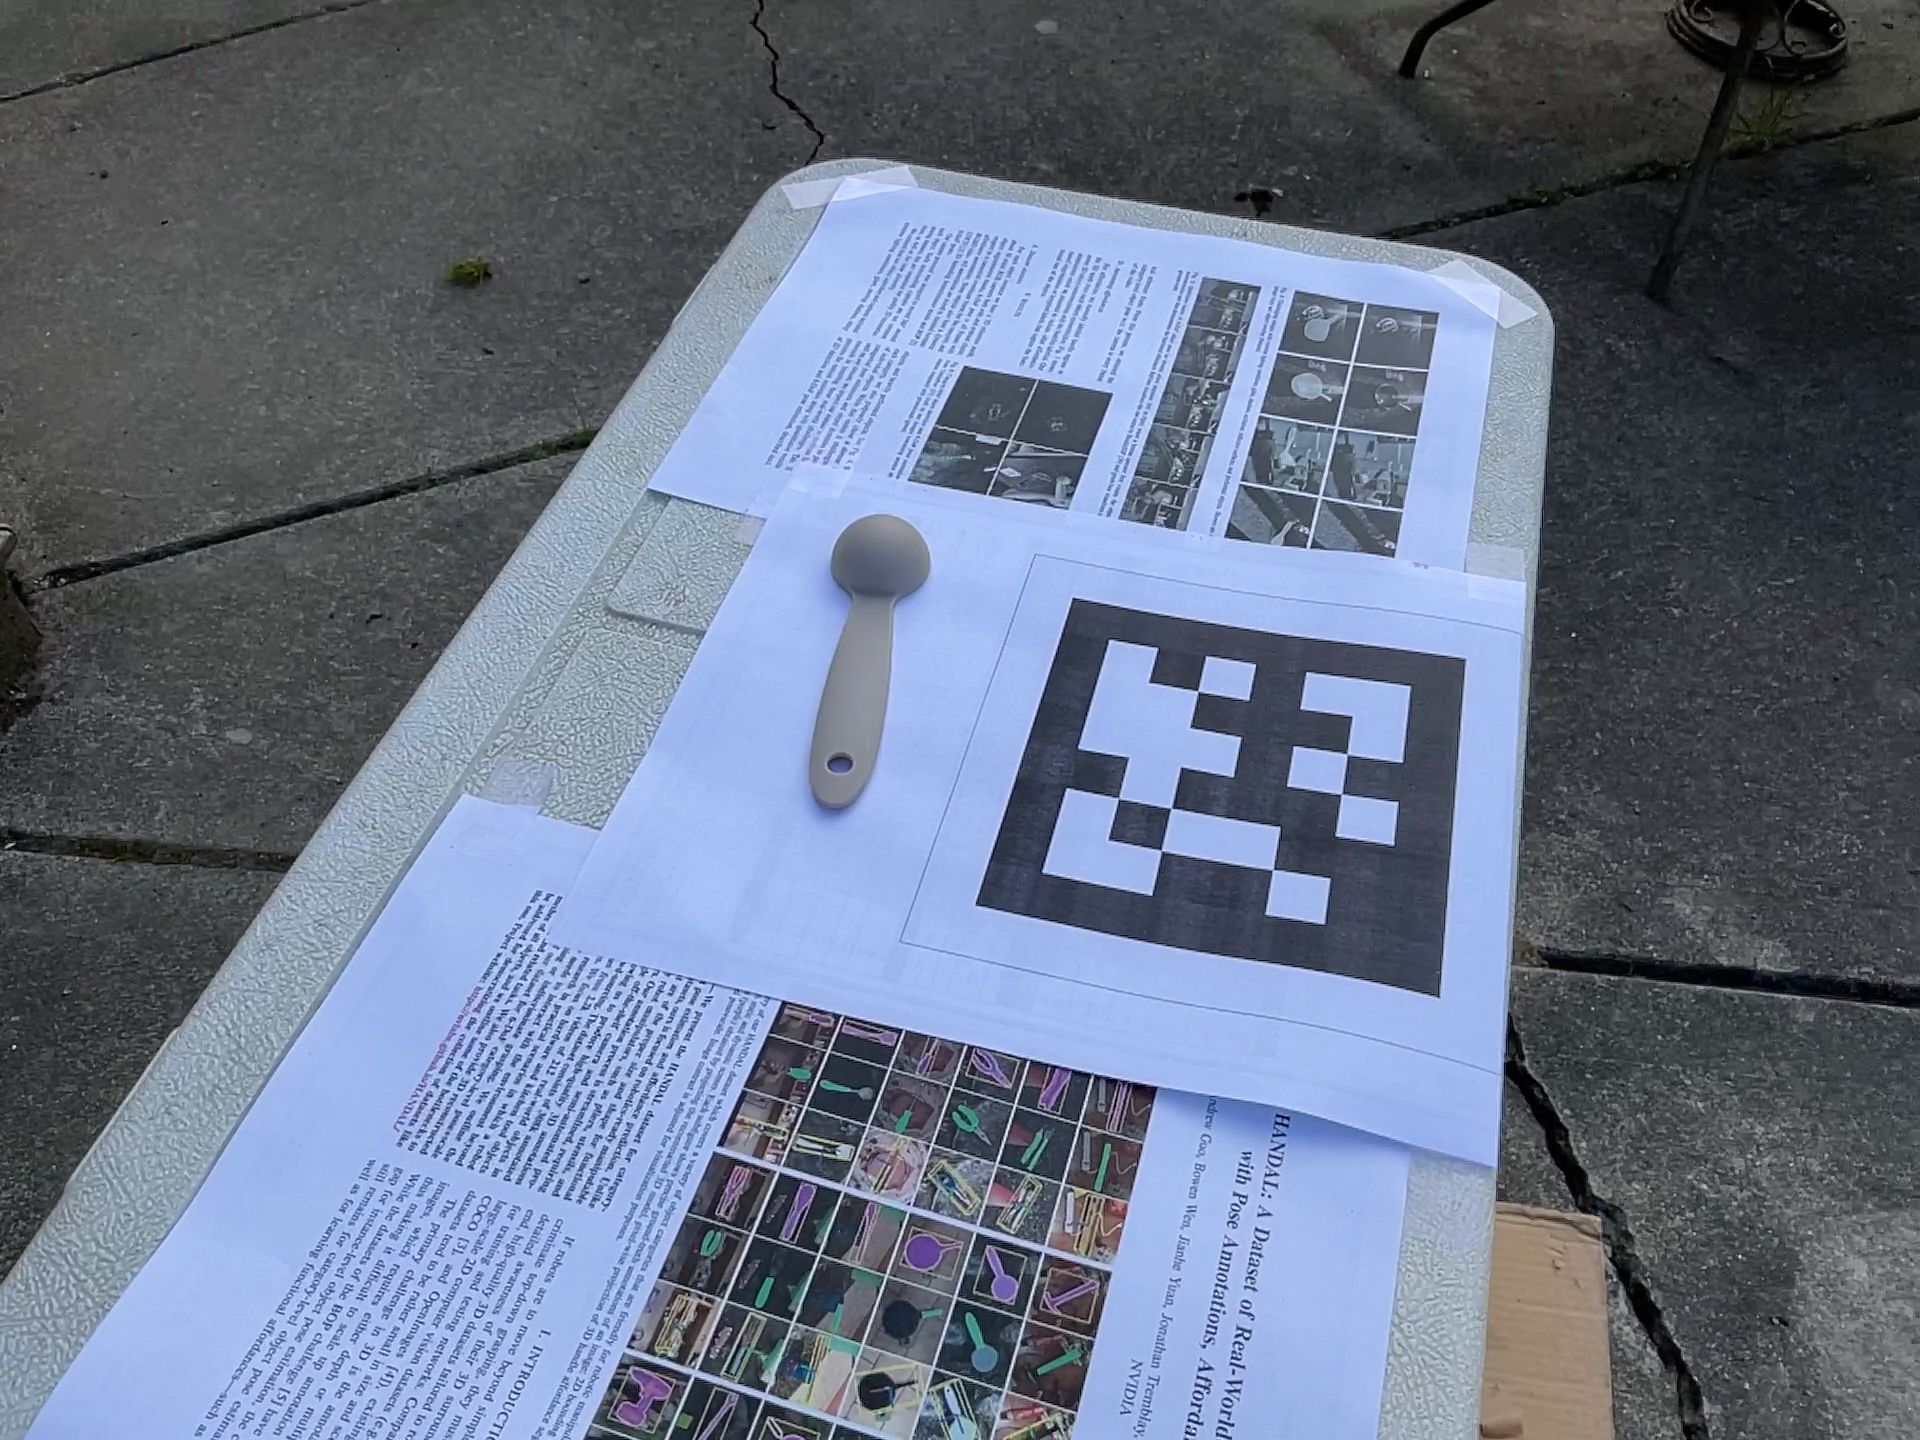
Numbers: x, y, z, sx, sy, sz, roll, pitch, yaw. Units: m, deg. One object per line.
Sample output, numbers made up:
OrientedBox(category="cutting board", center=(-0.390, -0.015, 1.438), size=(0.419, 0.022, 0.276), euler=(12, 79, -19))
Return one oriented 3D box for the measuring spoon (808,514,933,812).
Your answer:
OrientedBox(category="measuring spoon", center=(-0.031, -0.024, 0.499), size=(0.034, 0.018, 0.124), euler=(5, 48, 3))
